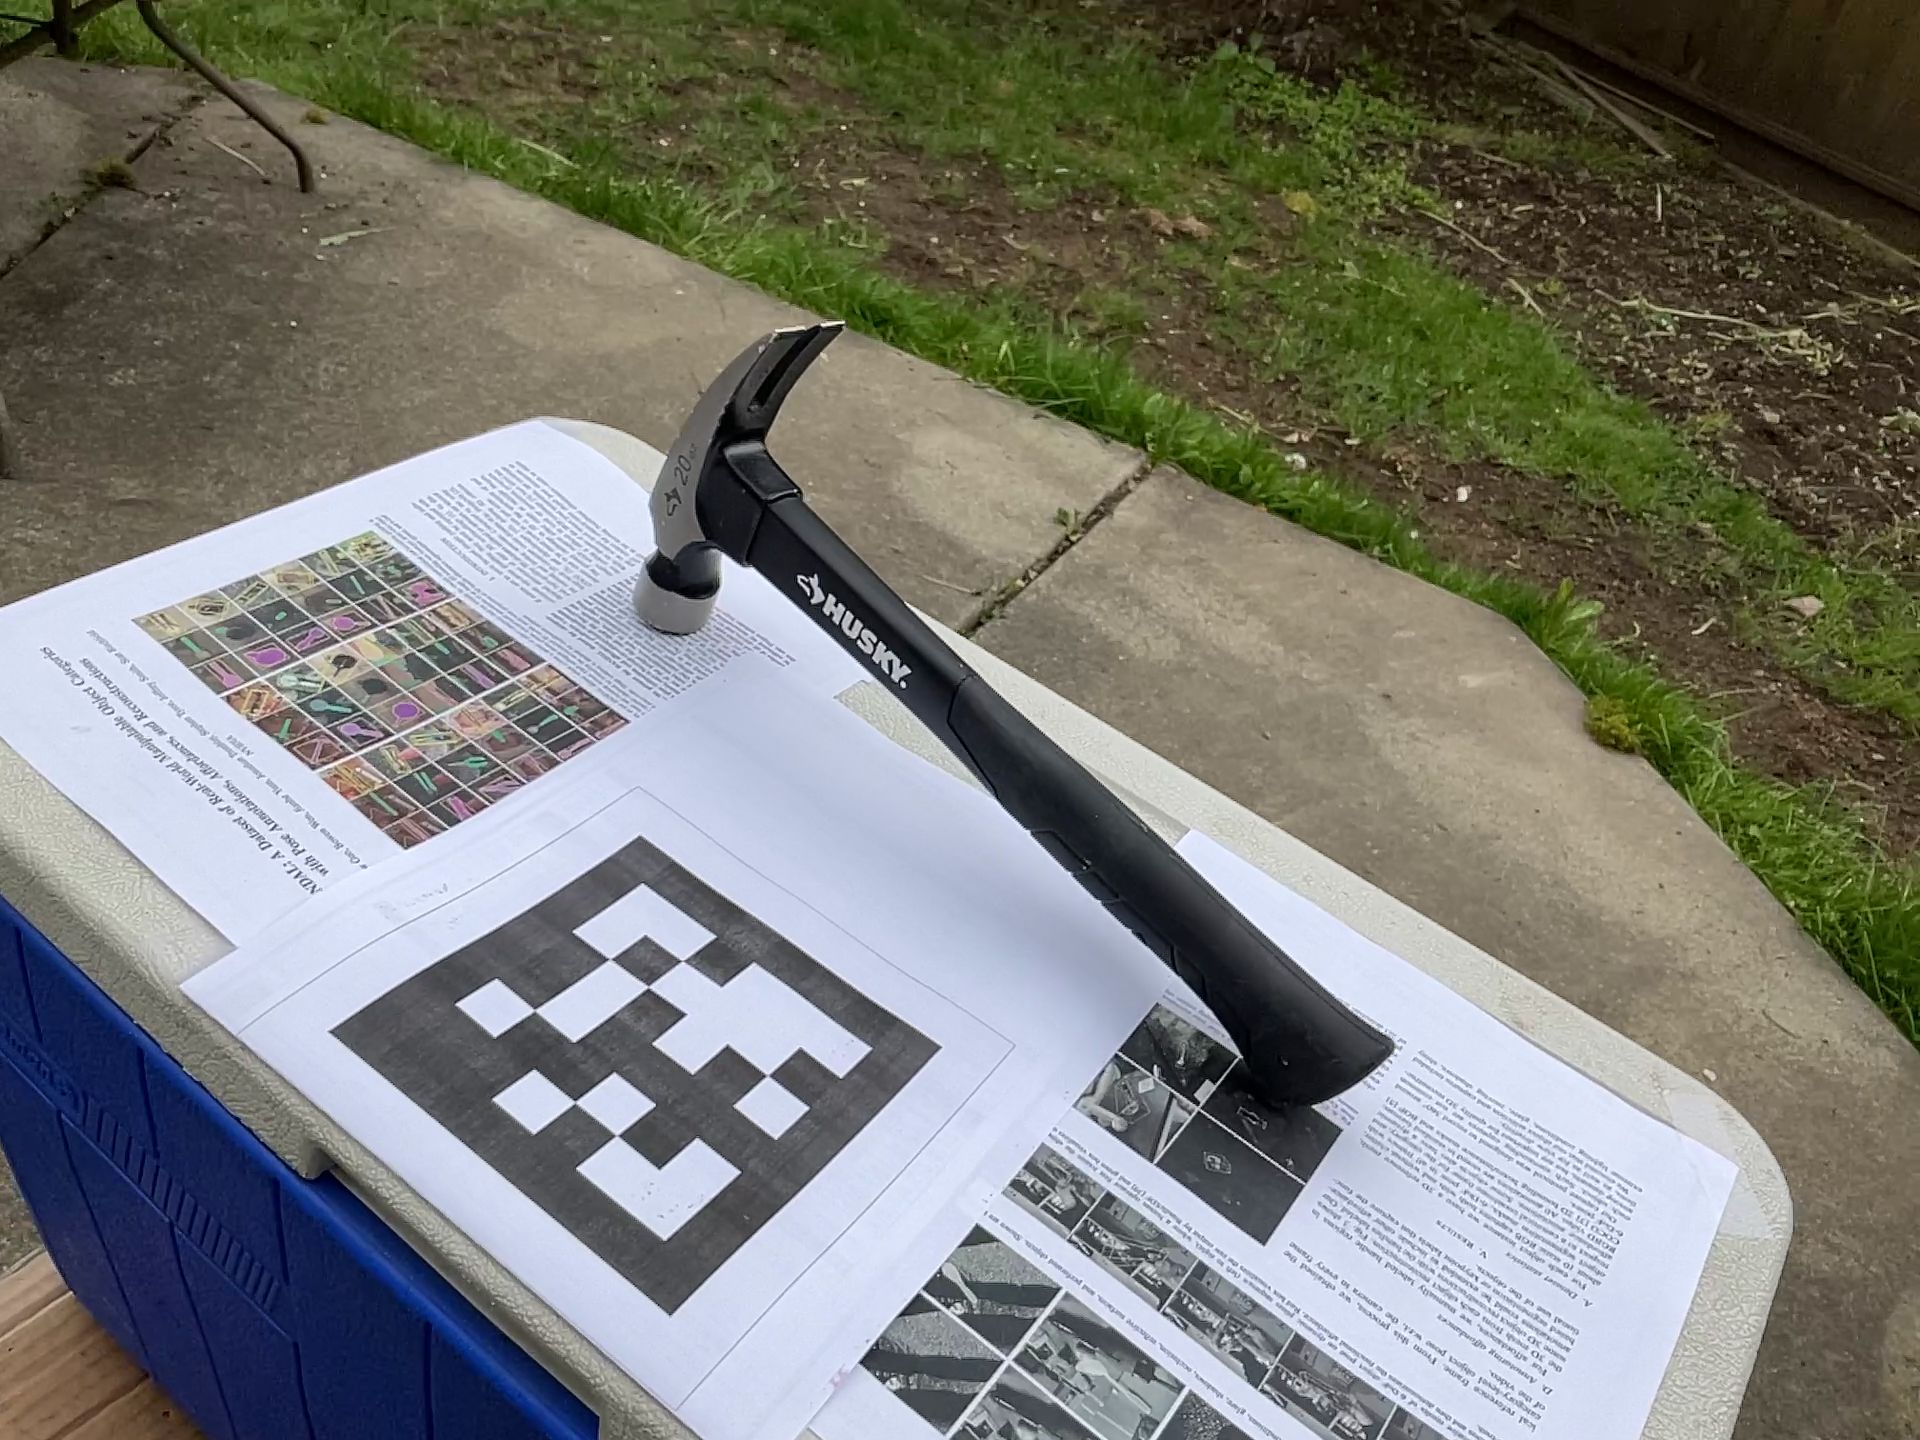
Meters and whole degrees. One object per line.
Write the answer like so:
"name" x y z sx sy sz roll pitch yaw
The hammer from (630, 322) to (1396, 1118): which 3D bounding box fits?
"hammer" 0.012 0.003 0.548 0.335 0.146 0.035 44 39 20
